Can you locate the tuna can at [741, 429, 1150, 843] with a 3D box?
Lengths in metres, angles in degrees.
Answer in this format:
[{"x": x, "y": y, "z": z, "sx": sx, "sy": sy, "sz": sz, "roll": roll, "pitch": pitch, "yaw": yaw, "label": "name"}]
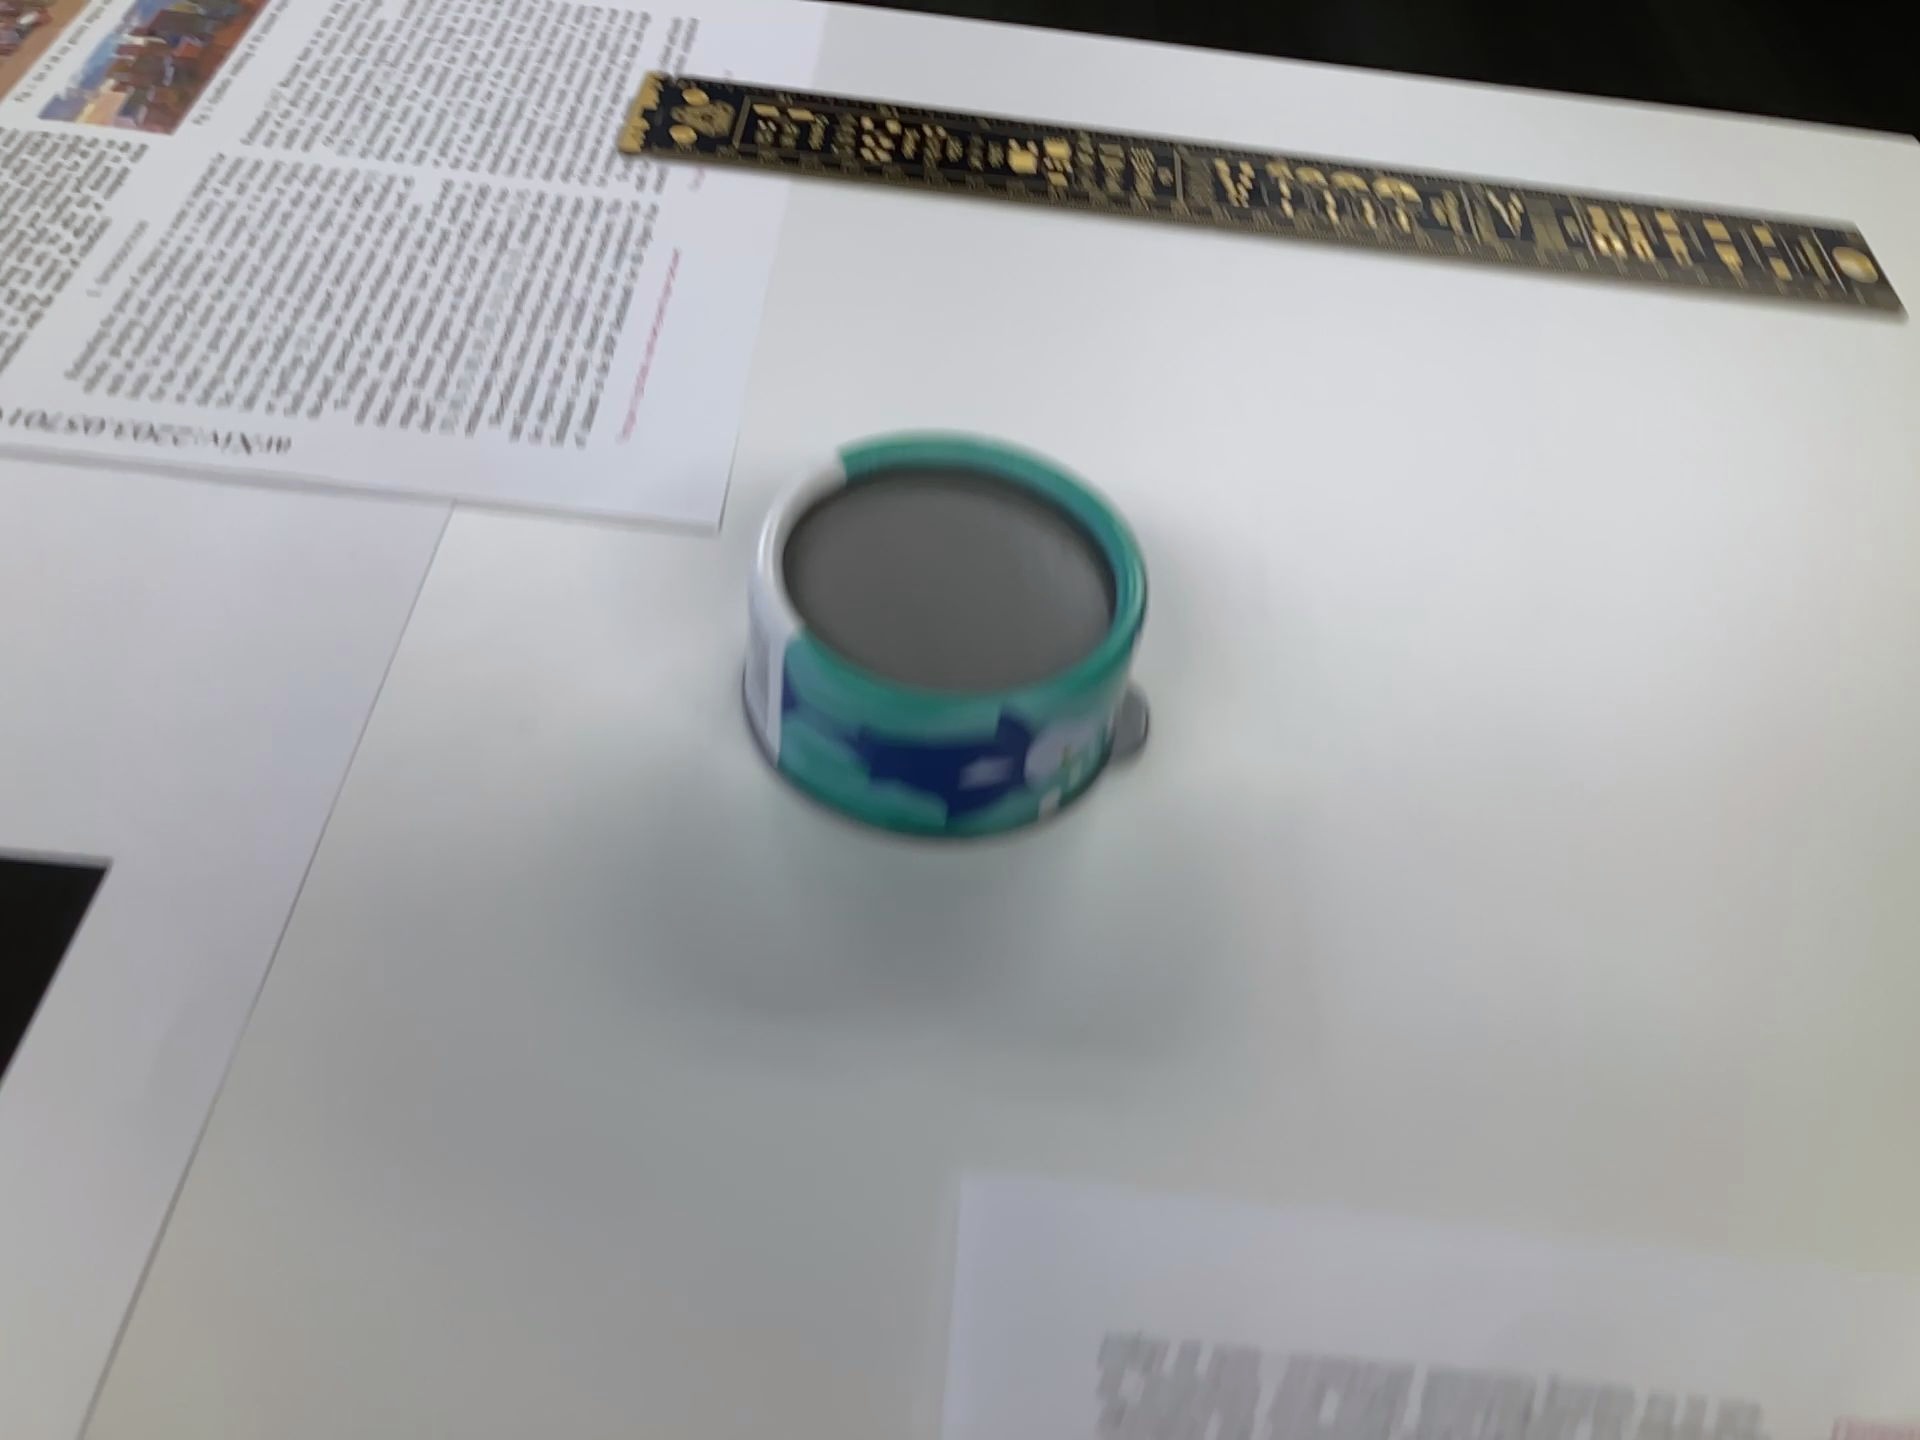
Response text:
[{"x": -0.001, "y": -0.015, "z": 0.264, "sx": 0.071, "sy": 0.033, "sz": 0.071, "roll": 4, "pitch": 50, "yaw": -5, "label": "tuna can"}]
